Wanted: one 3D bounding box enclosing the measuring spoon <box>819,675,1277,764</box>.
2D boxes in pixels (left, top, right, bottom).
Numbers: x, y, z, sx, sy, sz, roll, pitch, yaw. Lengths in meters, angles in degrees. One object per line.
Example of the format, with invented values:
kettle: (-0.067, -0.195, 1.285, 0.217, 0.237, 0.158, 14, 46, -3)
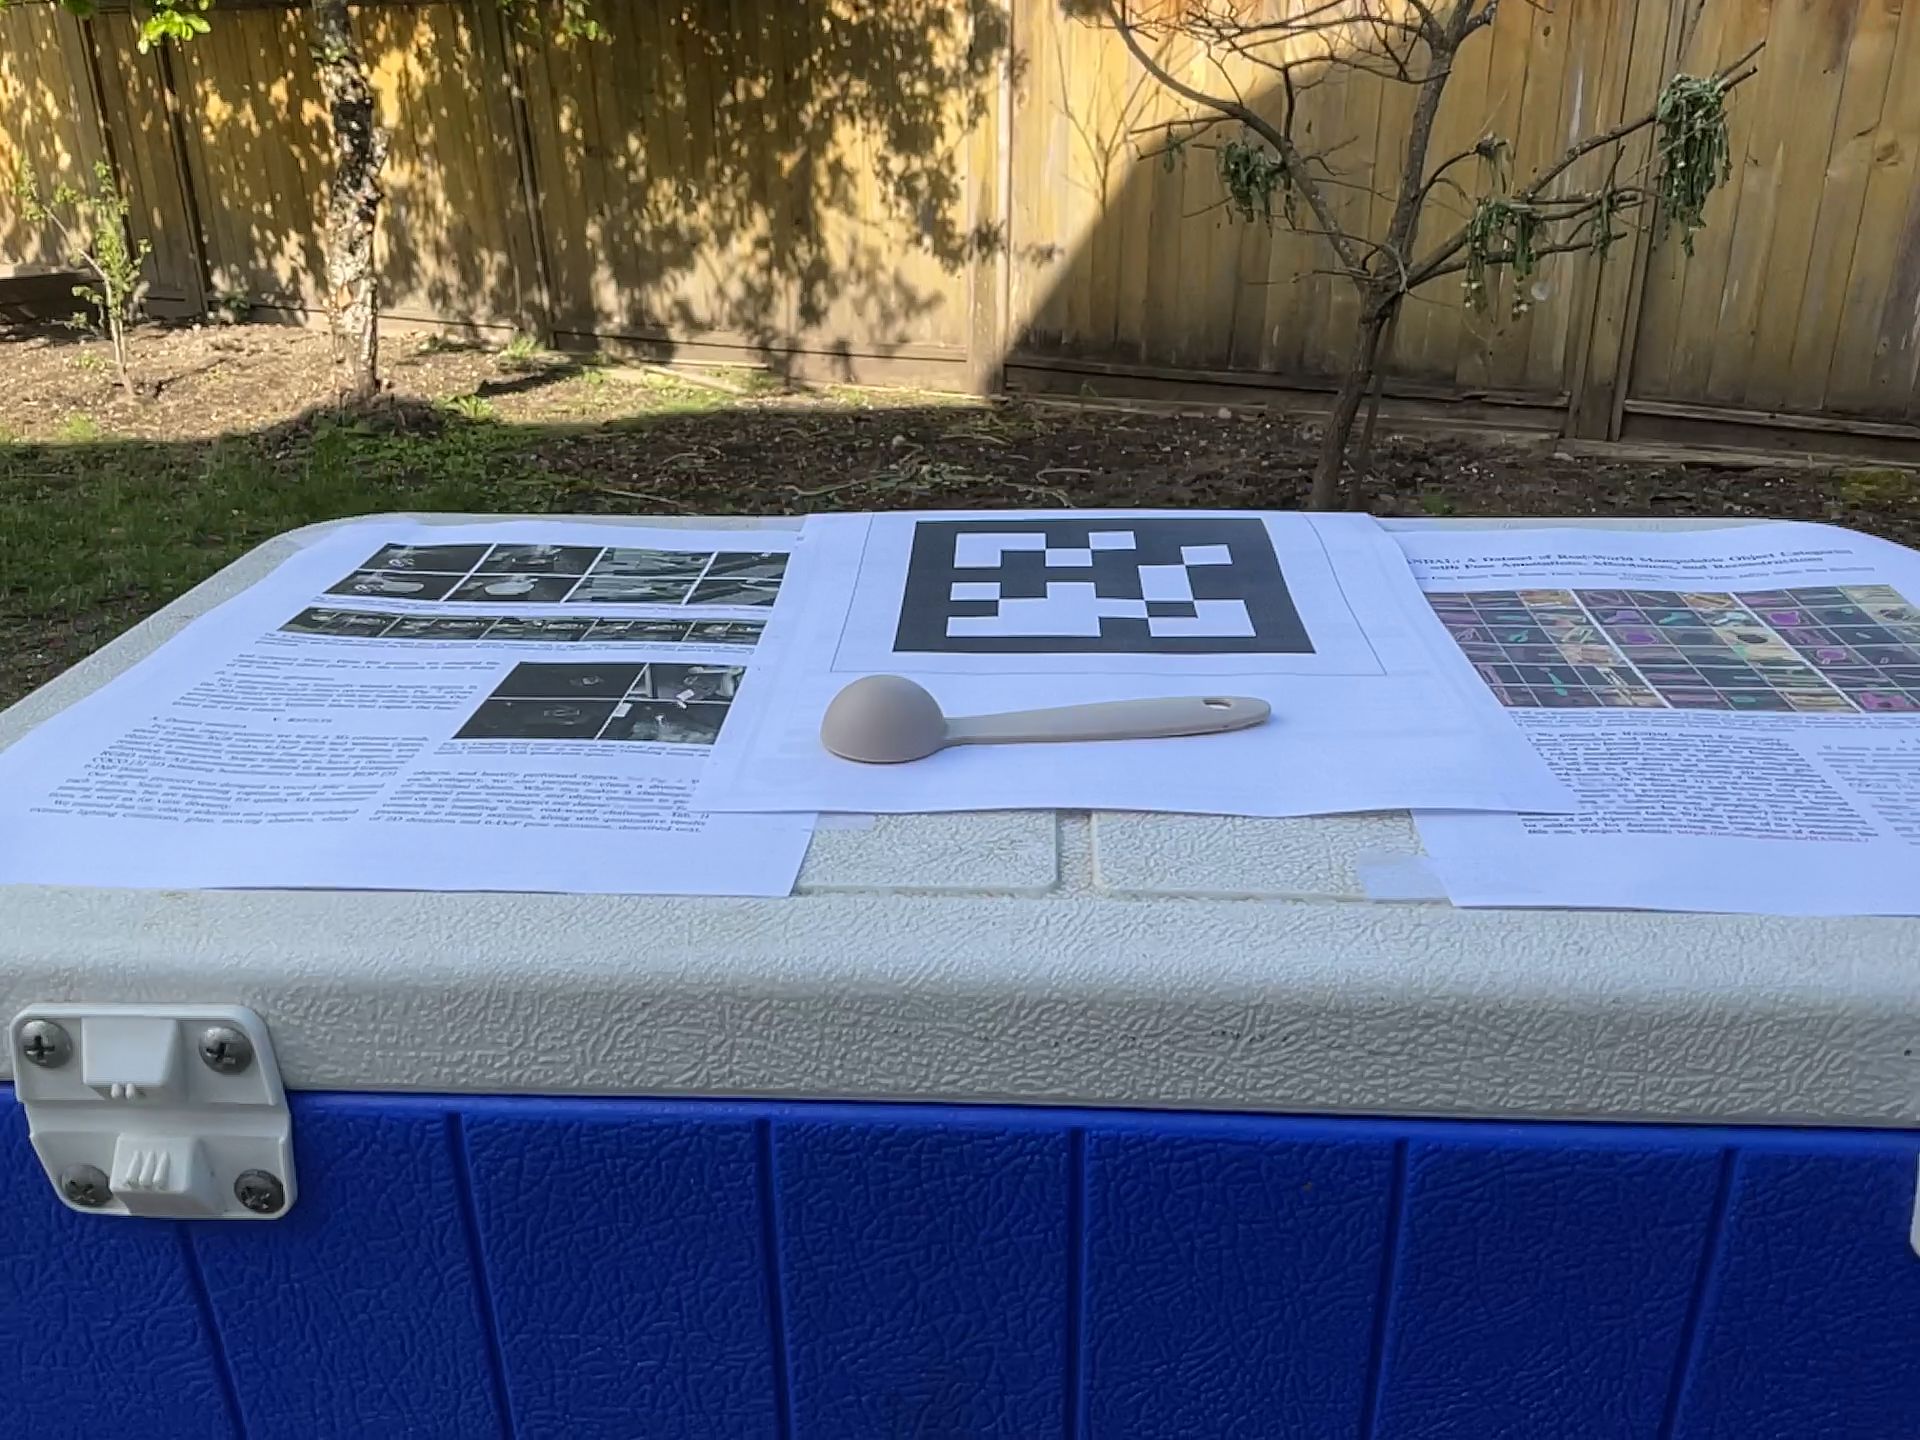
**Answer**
measuring spoon: (0.024, -0.005, 0.426, 0.124, 0.018, 0.034, -3, 23, -6)
